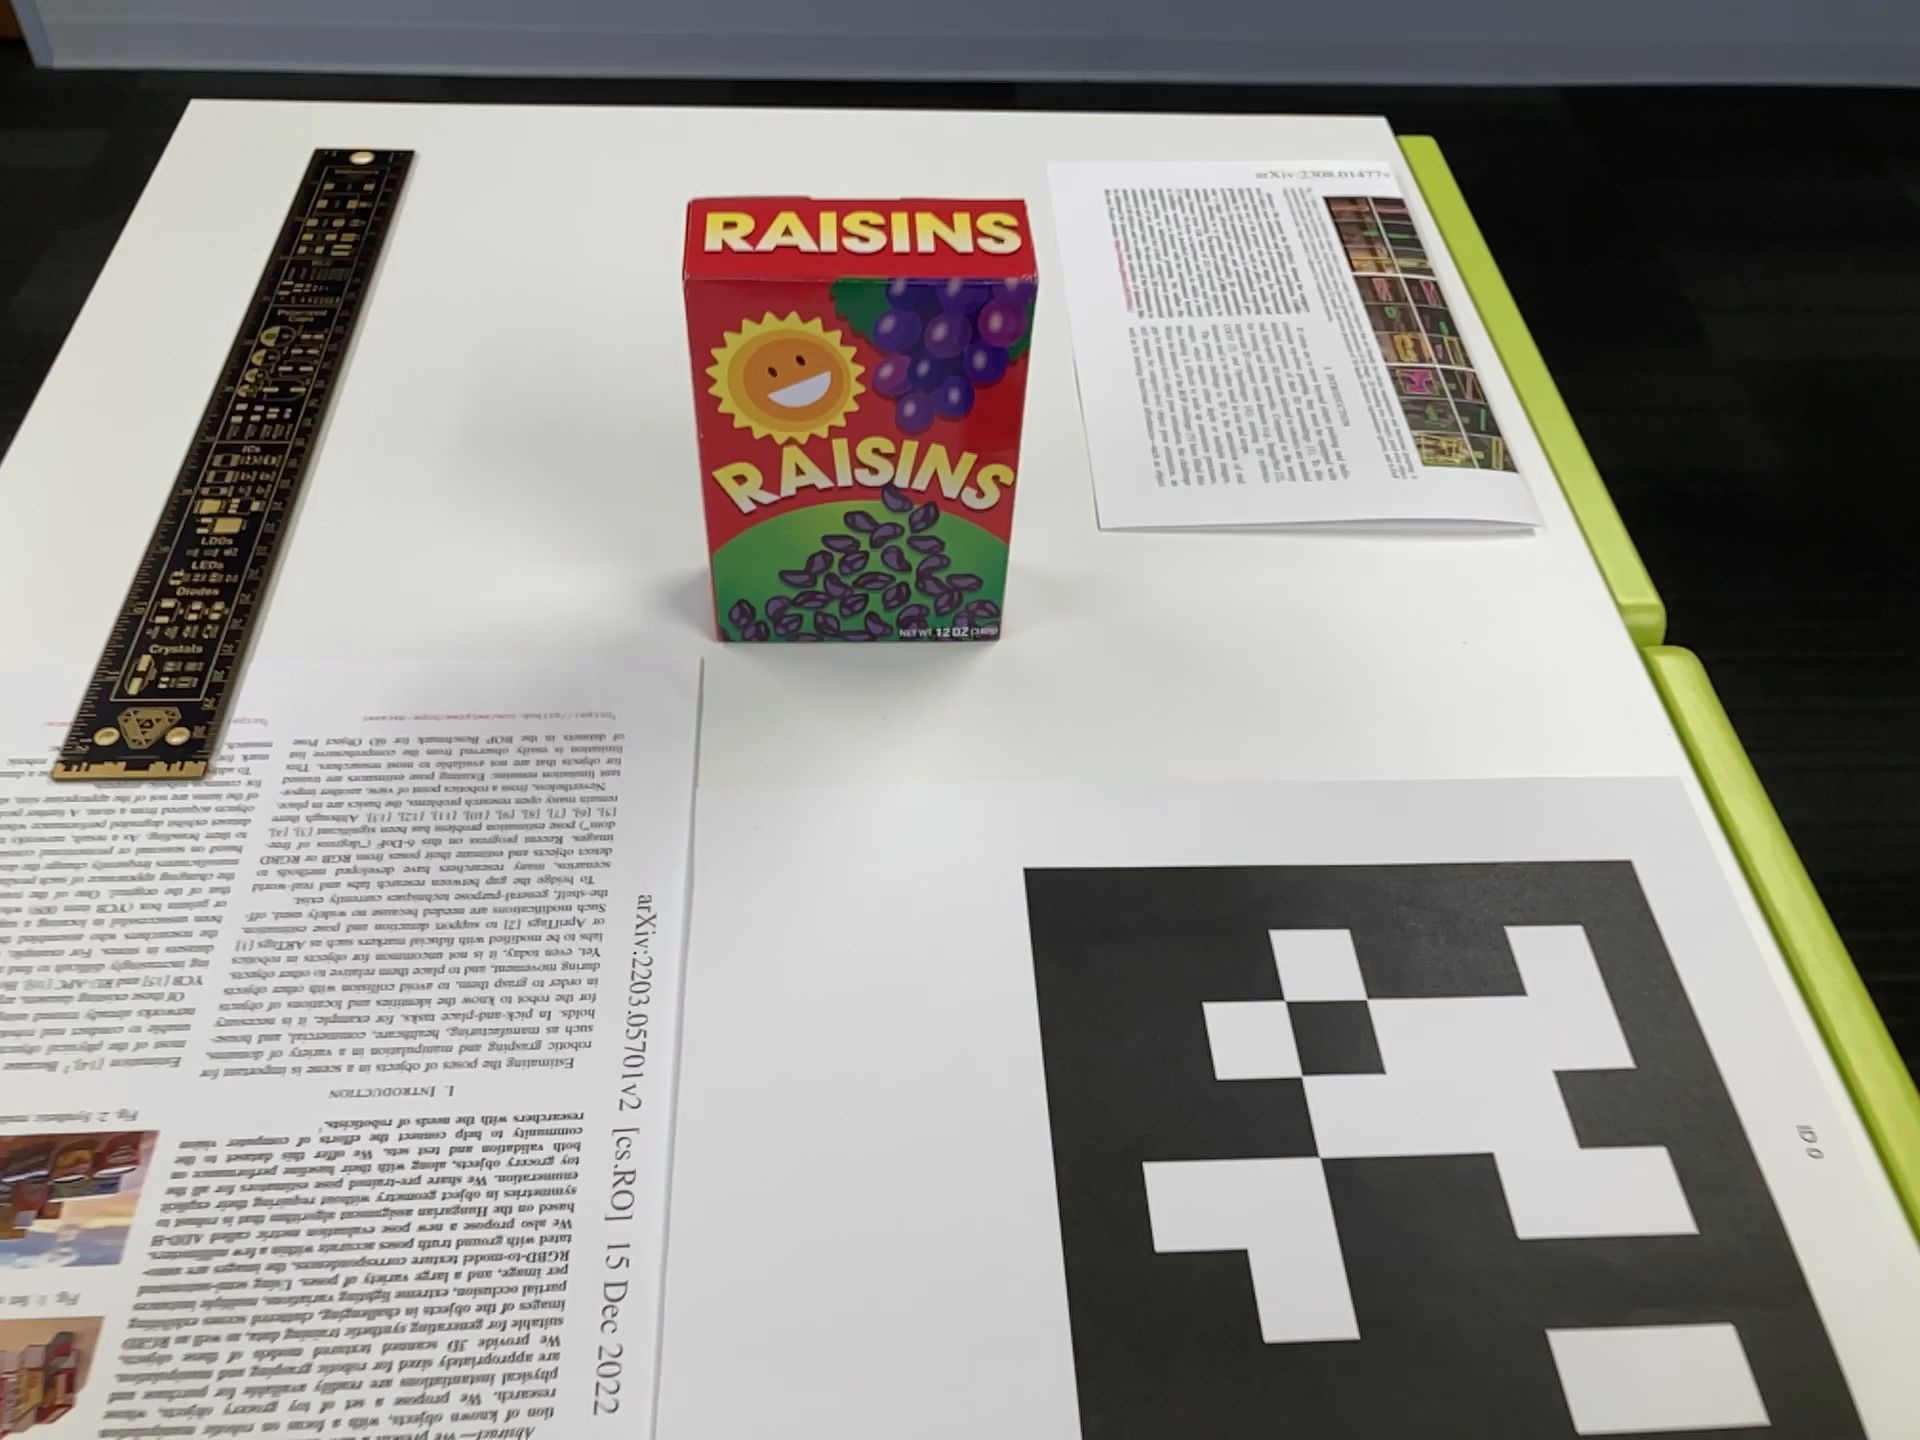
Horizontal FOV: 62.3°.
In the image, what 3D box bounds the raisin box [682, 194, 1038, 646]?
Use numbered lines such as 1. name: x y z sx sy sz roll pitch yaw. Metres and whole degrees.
1. raisin box: -0.026 -0.076 0.425 0.086 0.123 0.040 0 48 -4
